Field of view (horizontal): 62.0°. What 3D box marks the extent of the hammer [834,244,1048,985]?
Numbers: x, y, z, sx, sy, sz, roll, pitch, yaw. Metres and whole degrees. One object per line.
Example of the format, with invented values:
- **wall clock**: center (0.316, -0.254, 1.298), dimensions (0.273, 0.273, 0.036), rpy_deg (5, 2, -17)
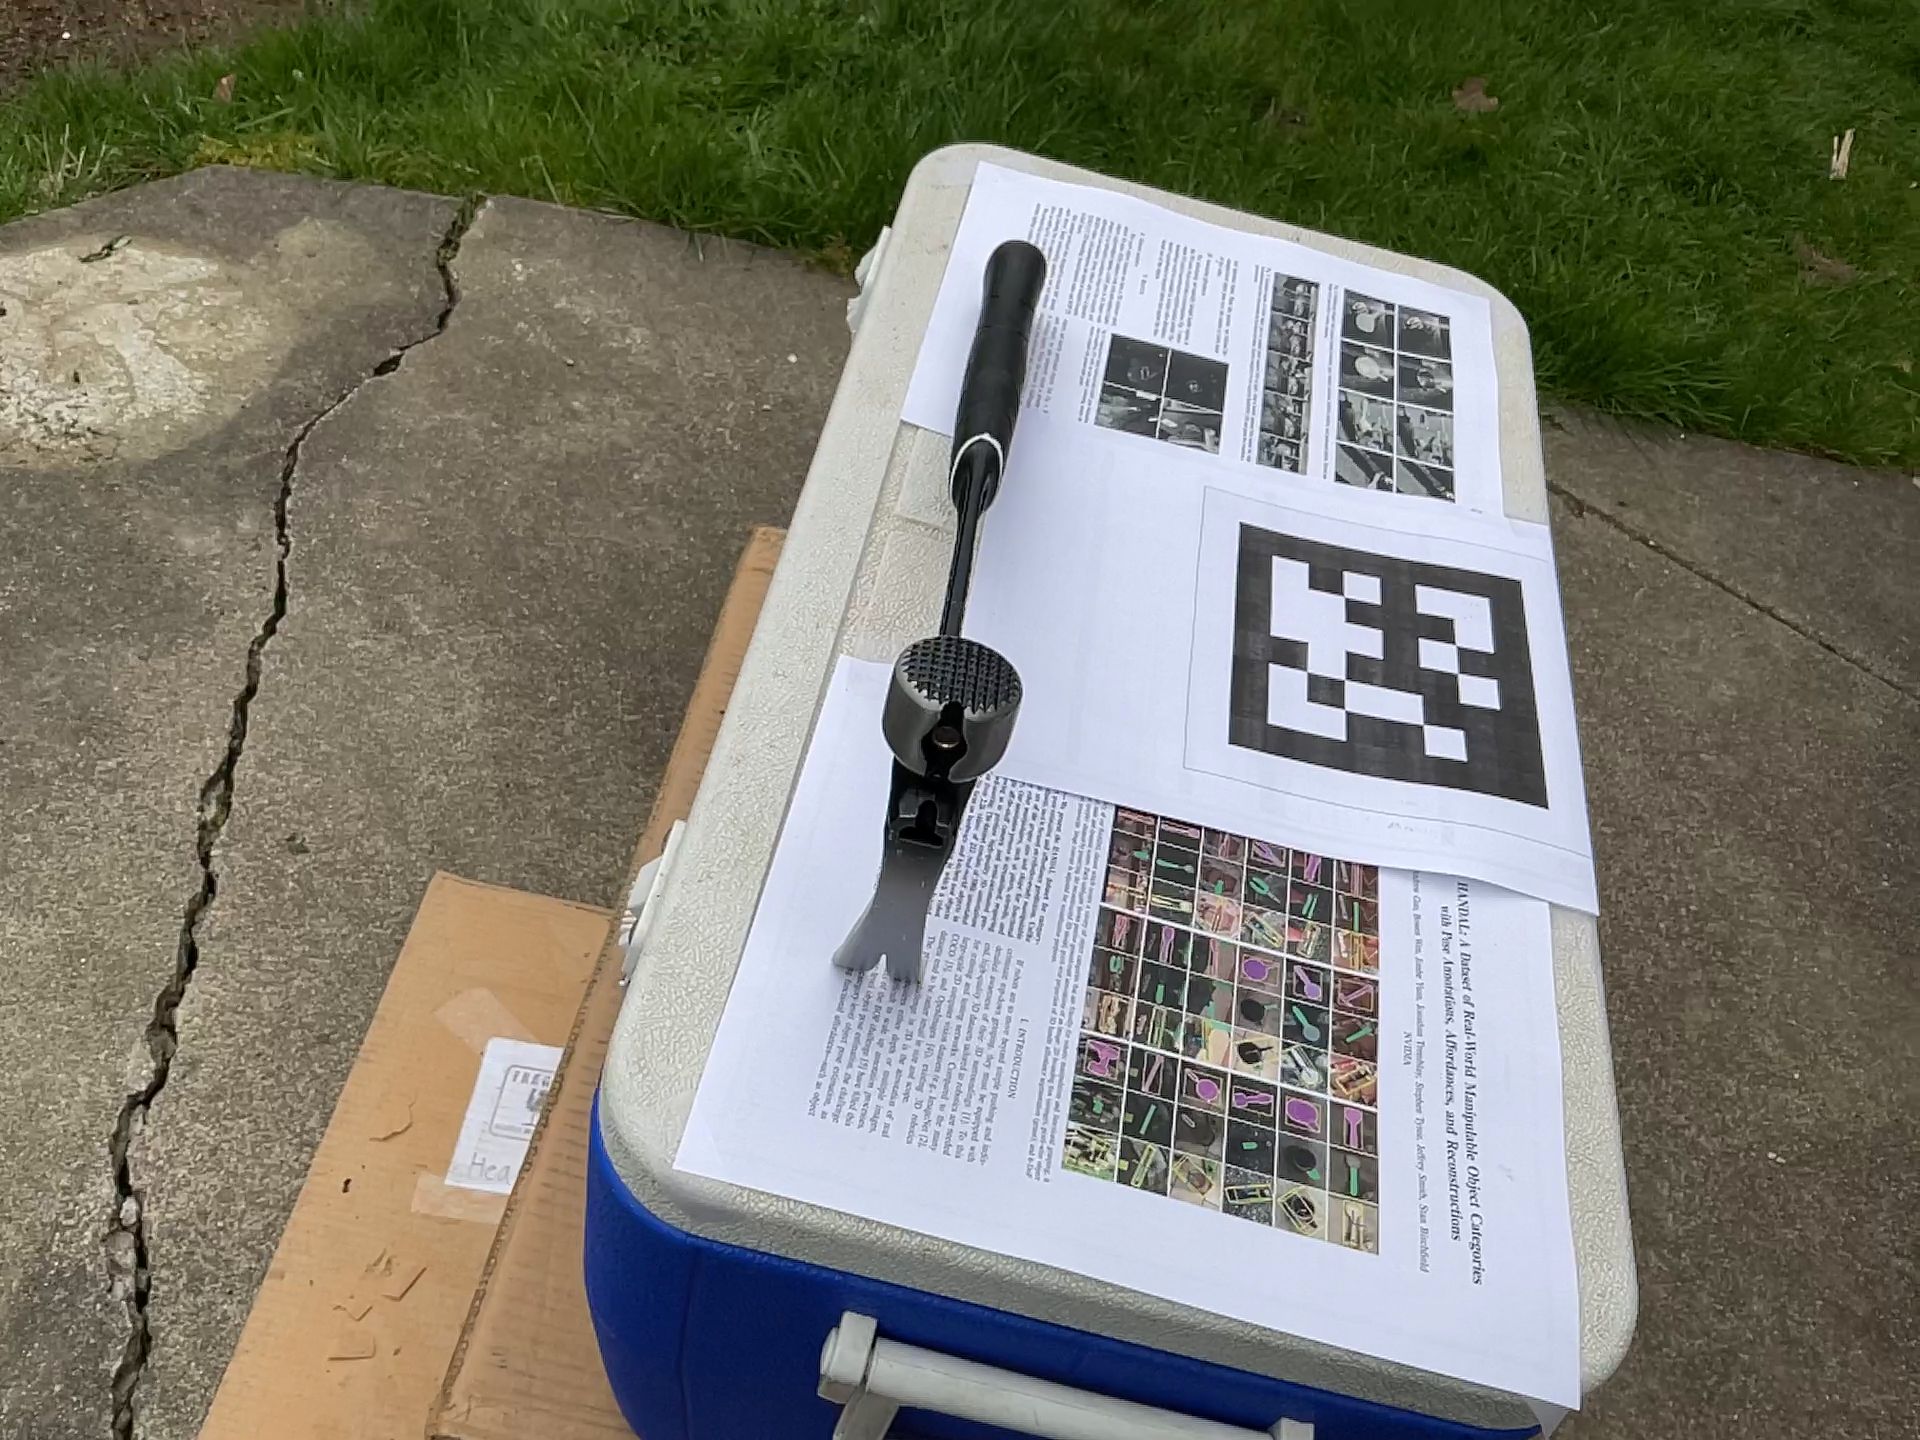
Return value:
- **hammer**: center (0.005, -0.078, 0.617), dimensions (0.036, 0.149, 0.409), rpy_deg (13, 40, -3)
